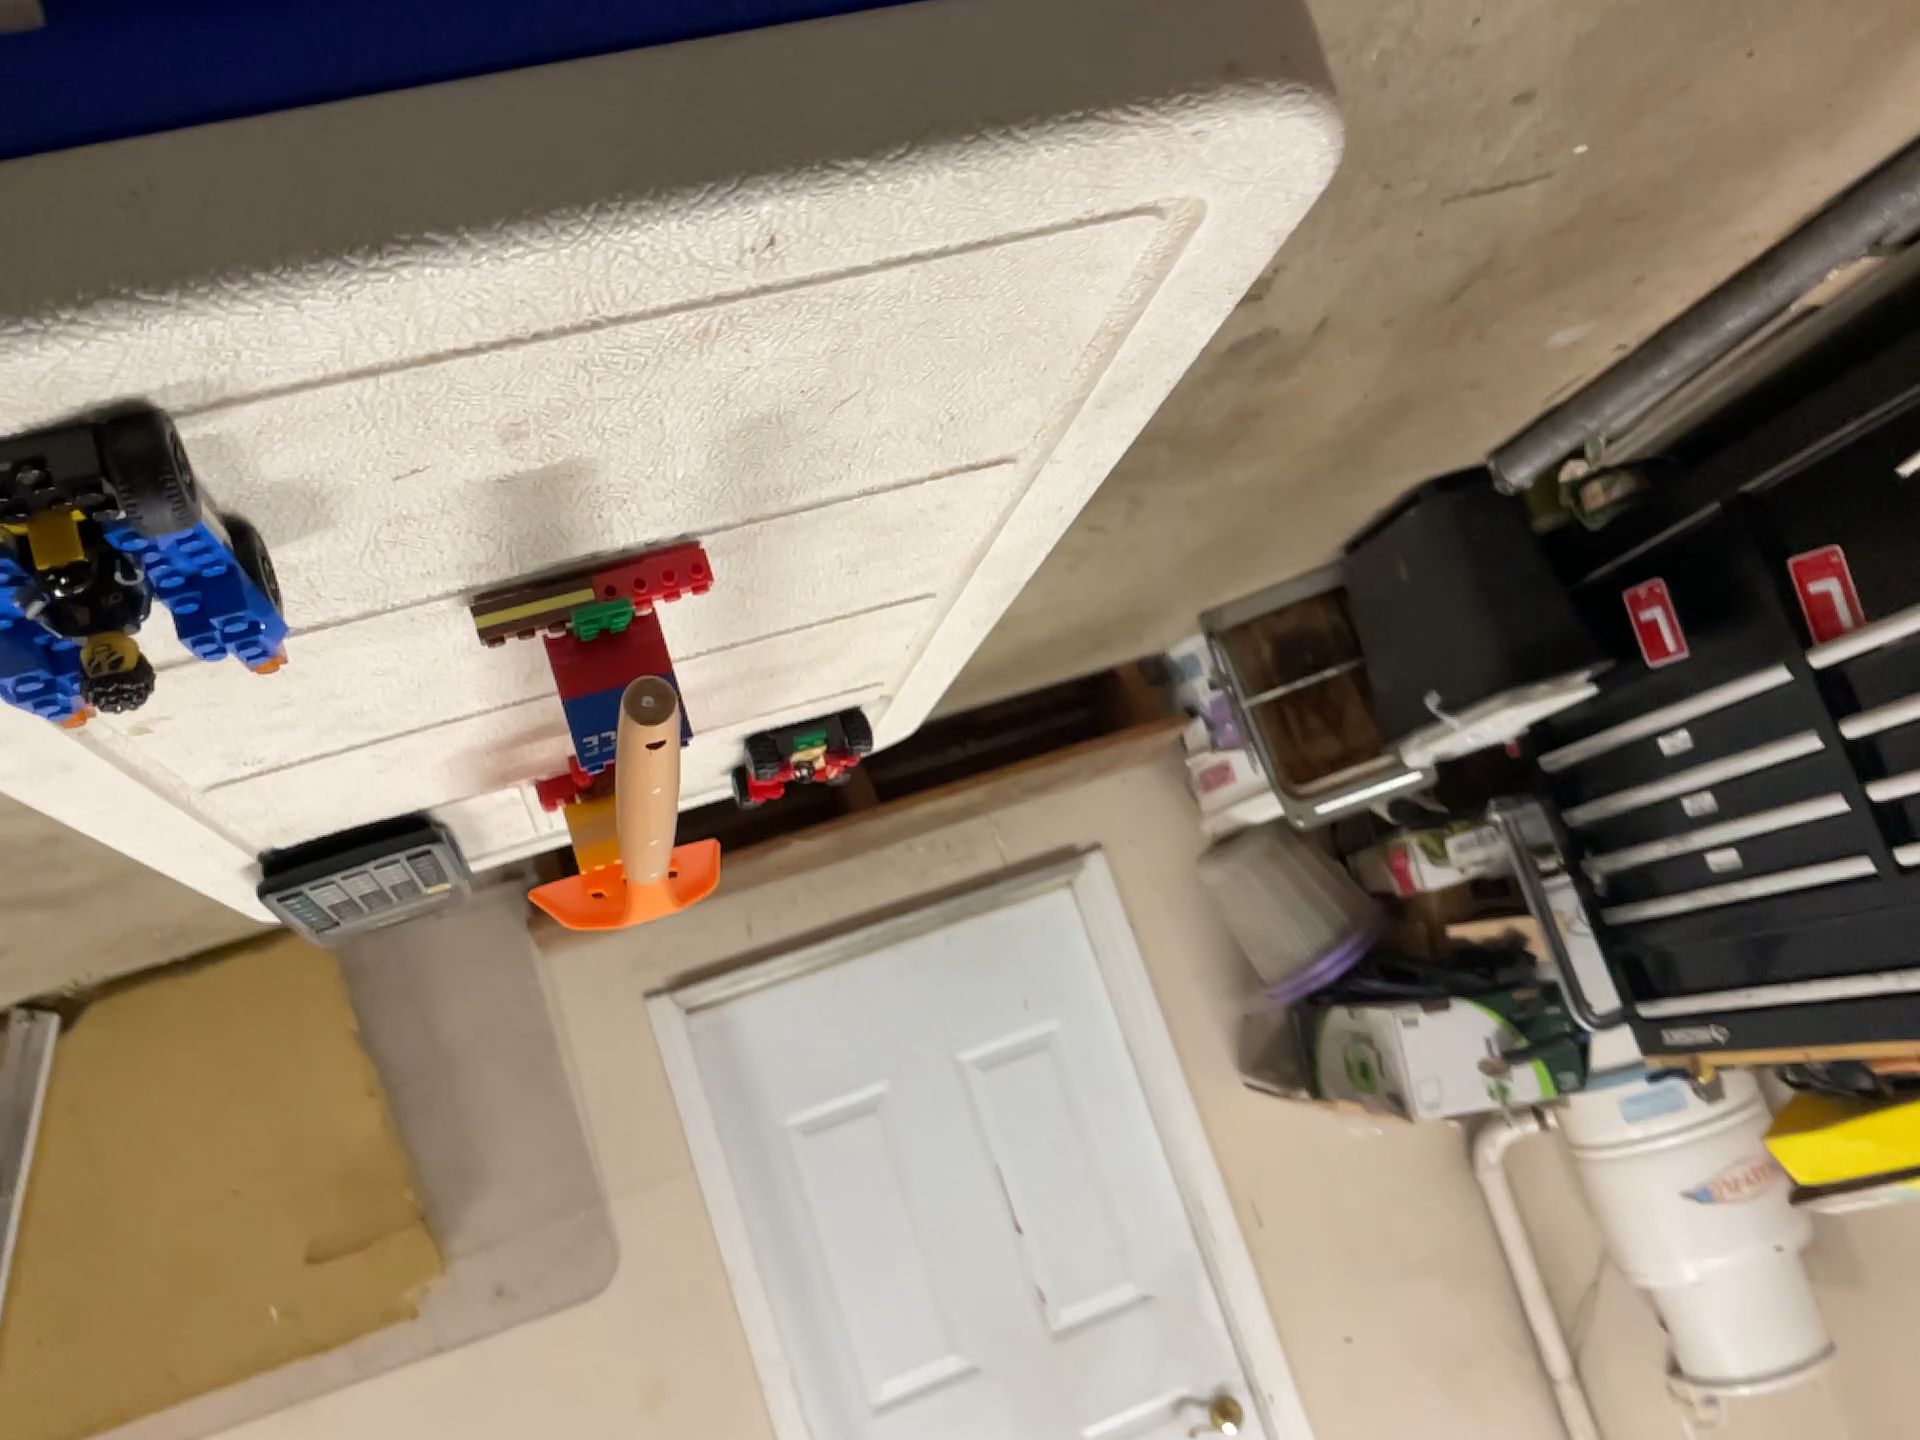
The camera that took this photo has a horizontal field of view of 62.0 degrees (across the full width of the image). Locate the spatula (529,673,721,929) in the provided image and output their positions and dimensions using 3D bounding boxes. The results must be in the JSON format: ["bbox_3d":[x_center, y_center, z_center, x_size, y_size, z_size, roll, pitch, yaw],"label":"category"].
[{"bbox_3d":[-0.106,0.033,0.522,0.081,0.041,0.322,-15,167,-16],"label":"spatula"}]
